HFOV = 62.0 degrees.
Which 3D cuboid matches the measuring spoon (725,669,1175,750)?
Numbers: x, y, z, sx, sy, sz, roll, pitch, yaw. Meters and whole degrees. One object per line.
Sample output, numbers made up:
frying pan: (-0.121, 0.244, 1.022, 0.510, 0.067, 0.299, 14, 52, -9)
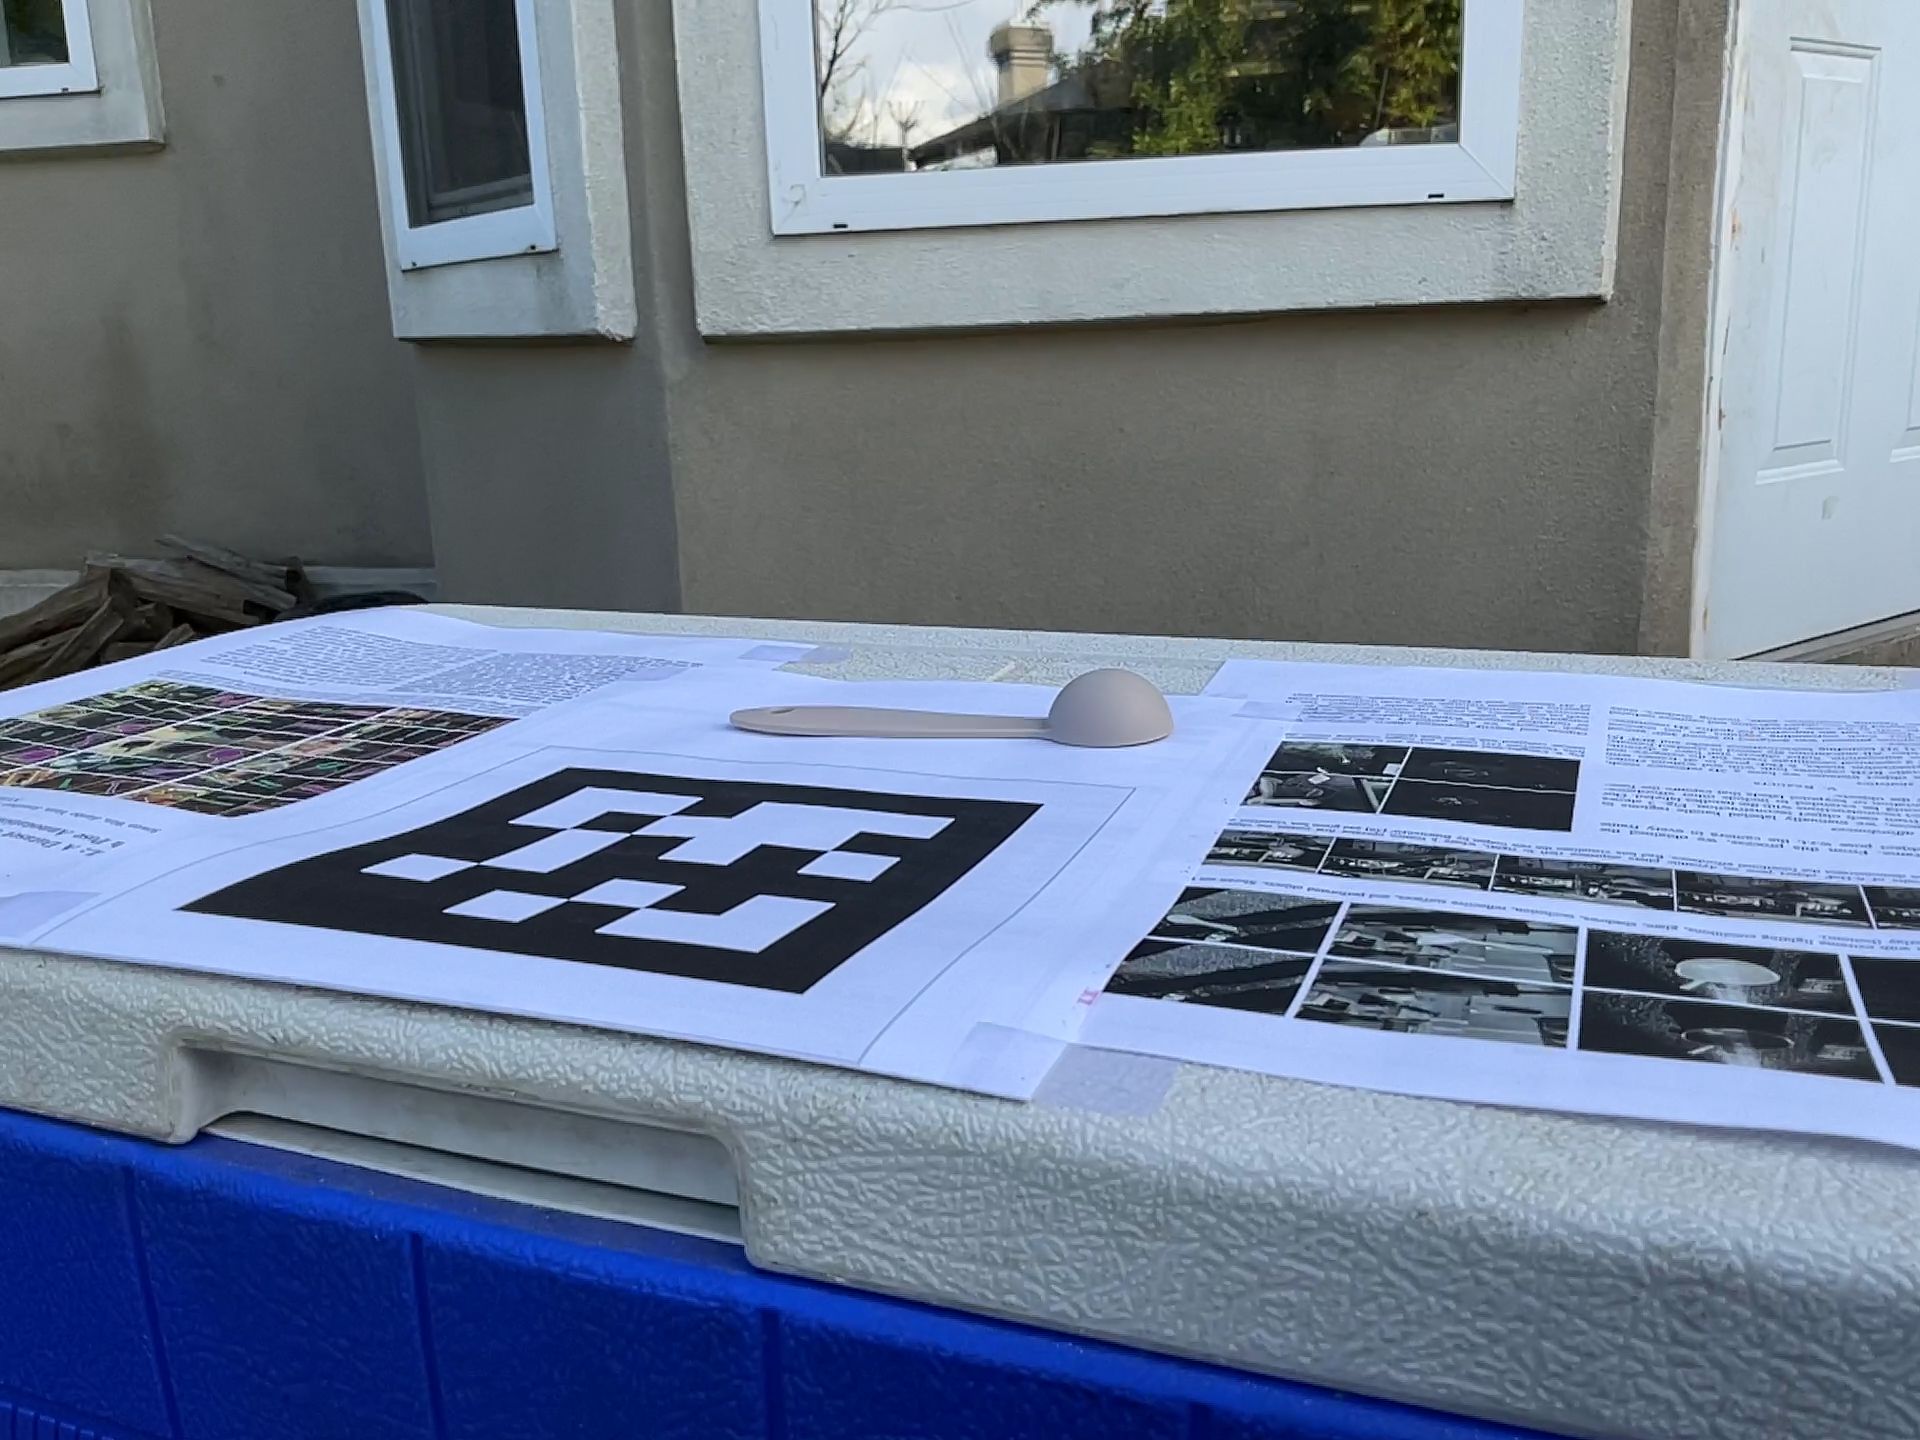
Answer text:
measuring spoon: (-0.005, -0.005, 0.431, 0.124, 0.018, 0.034, 1, 15, 11)
